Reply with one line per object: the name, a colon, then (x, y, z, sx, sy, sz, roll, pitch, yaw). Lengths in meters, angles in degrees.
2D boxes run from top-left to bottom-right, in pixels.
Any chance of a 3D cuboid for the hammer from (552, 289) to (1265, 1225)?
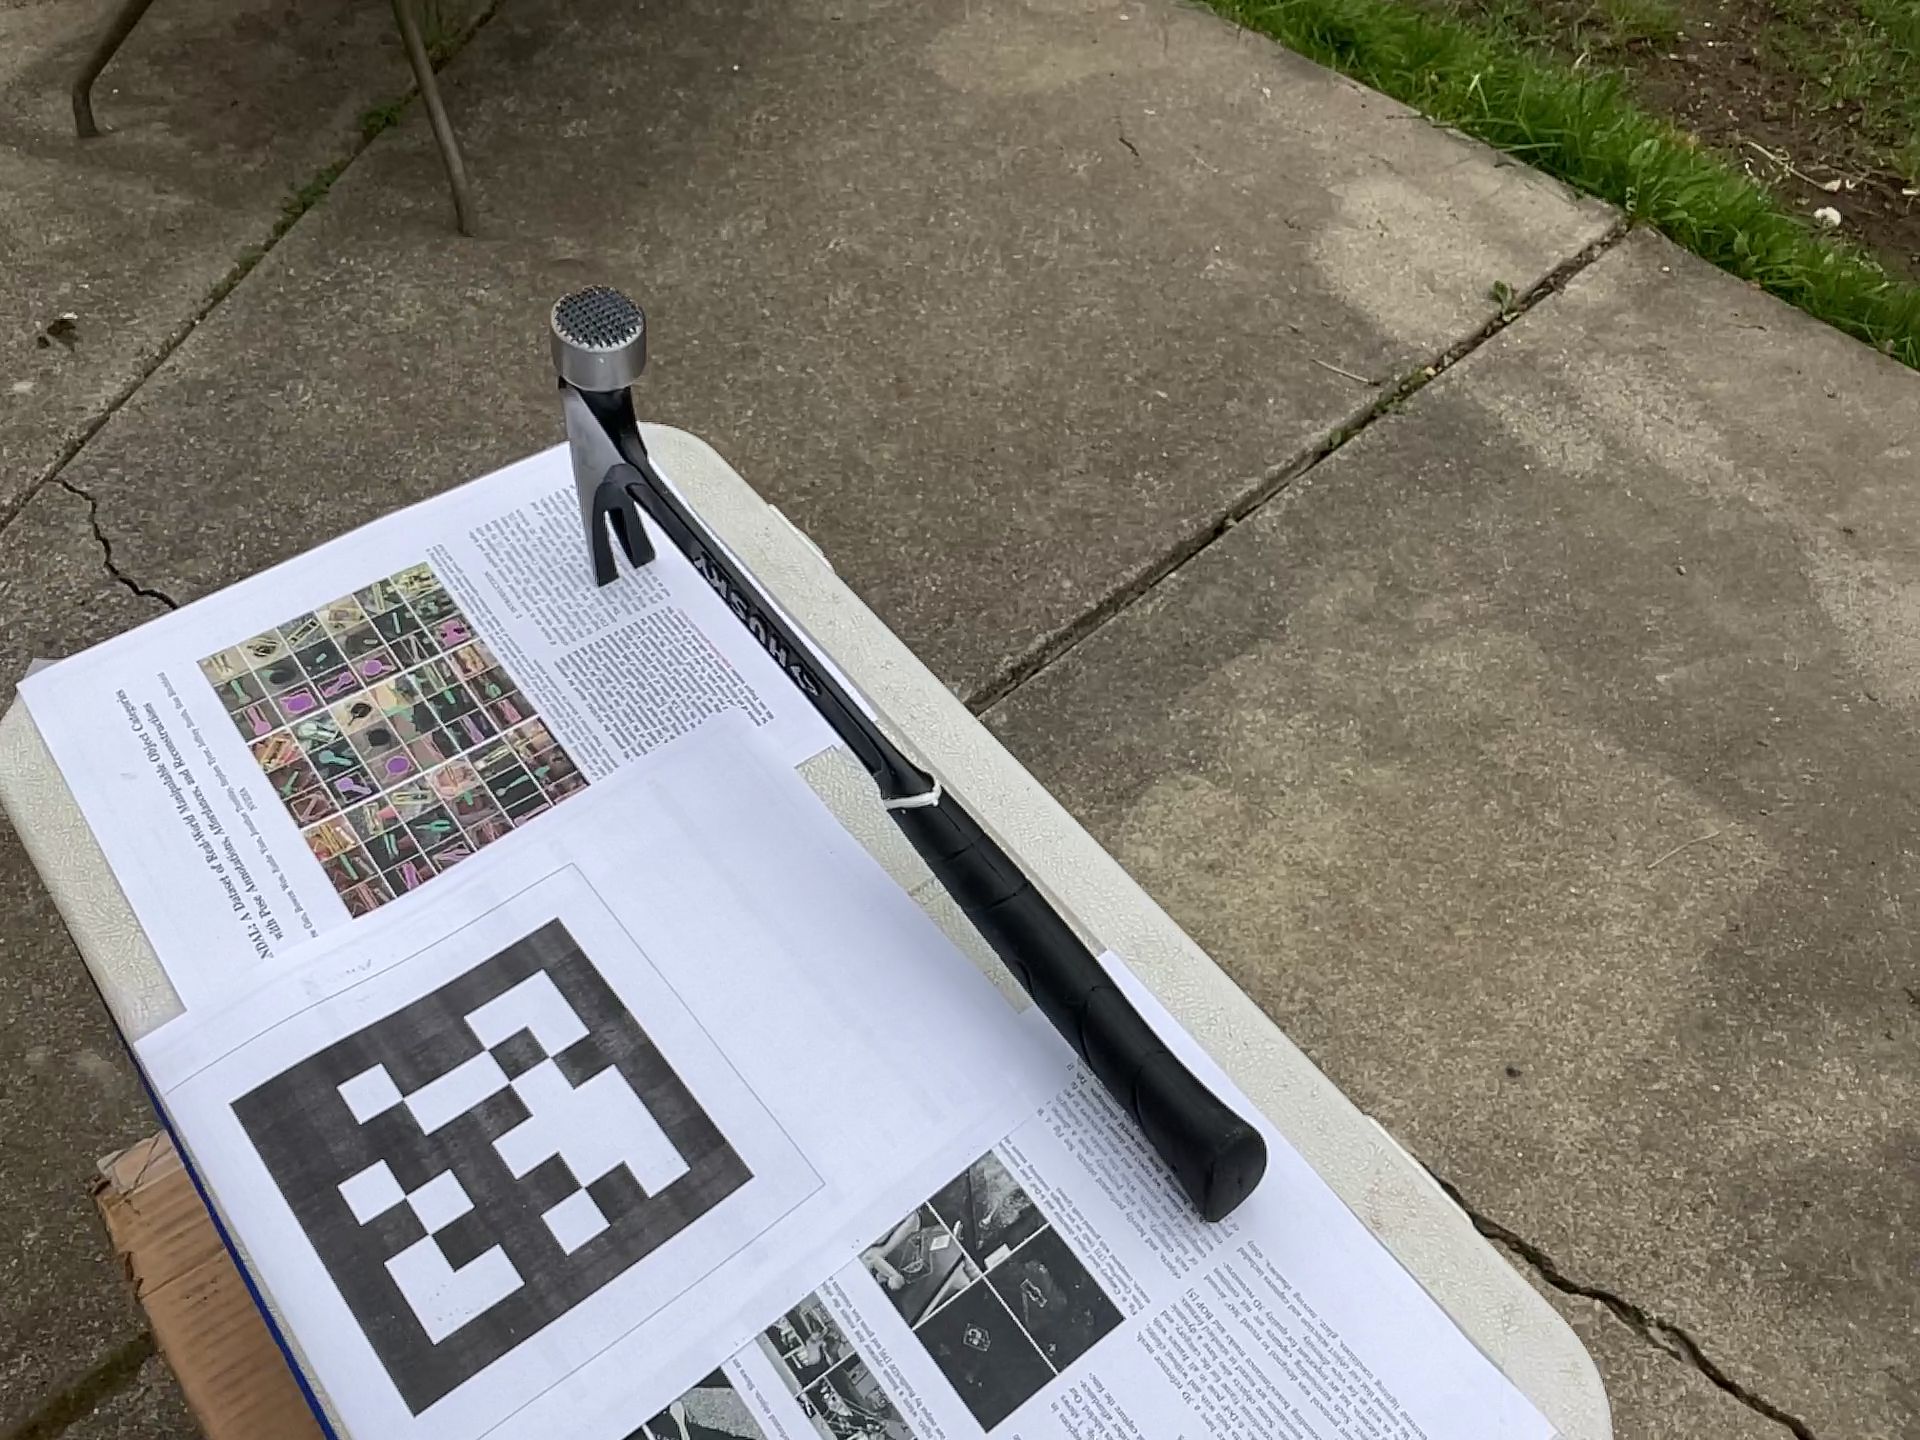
hammer: (-0.032, 0.019, 0.610, 0.036, 0.149, 0.409, -32, 70, -26)
